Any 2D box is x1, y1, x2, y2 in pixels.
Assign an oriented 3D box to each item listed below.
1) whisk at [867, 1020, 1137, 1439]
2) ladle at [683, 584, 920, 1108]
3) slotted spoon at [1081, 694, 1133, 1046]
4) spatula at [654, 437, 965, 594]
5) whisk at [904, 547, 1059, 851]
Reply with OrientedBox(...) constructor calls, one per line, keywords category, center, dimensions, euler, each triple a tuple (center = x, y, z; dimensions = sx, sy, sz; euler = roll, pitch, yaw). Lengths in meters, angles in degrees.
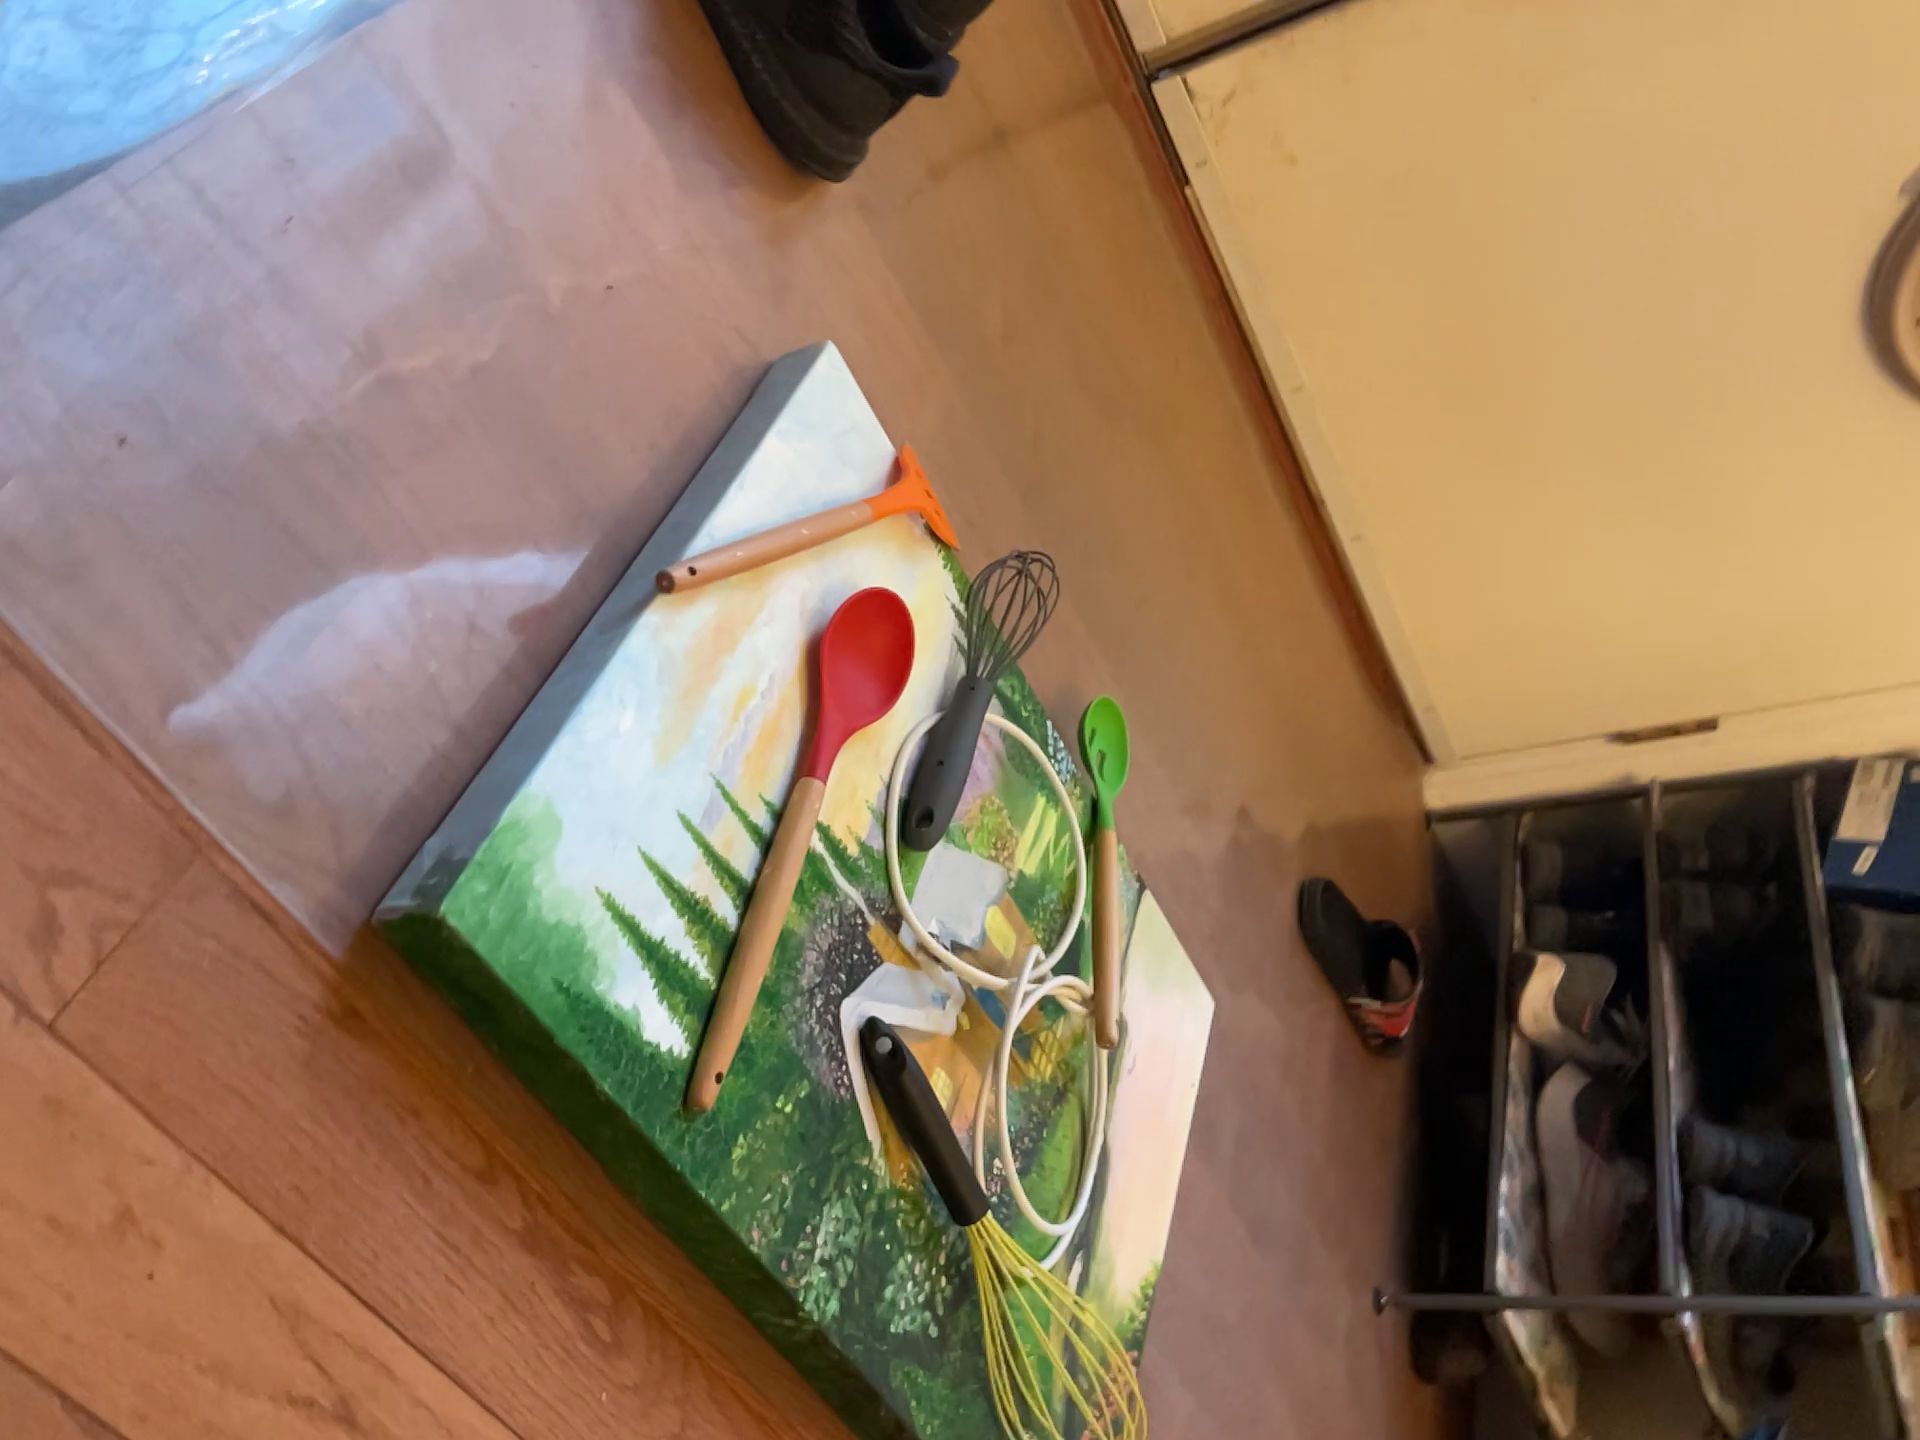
OrientedBox(category="whisk", center=(0.019, 0.297, 0.879), dimensions=(0.311, 0.067, 0.080), euler=(64, 27, -13))
OrientedBox(category="ladle", center=(-0.081, 0.053, 0.813), dimensions=(0.069, 0.031, 0.316), euler=(52, 42, -37))
OrientedBox(category="slotted spoon", center=(0.099, 0.095, 1.092), dimensions=(0.070, 0.031, 0.314), euler=(57, 24, -33))
OrientedBox(category="spatula", center=(-0.074, -0.109, 0.900), dimensions=(0.322, 0.041, 0.081), euler=(-32, 96, -57))
OrientedBox(category="whisk", center=(0.012, -0.018, 0.977), dimensions=(0.055, 0.055, 0.239), euler=(44, 50, -30))
